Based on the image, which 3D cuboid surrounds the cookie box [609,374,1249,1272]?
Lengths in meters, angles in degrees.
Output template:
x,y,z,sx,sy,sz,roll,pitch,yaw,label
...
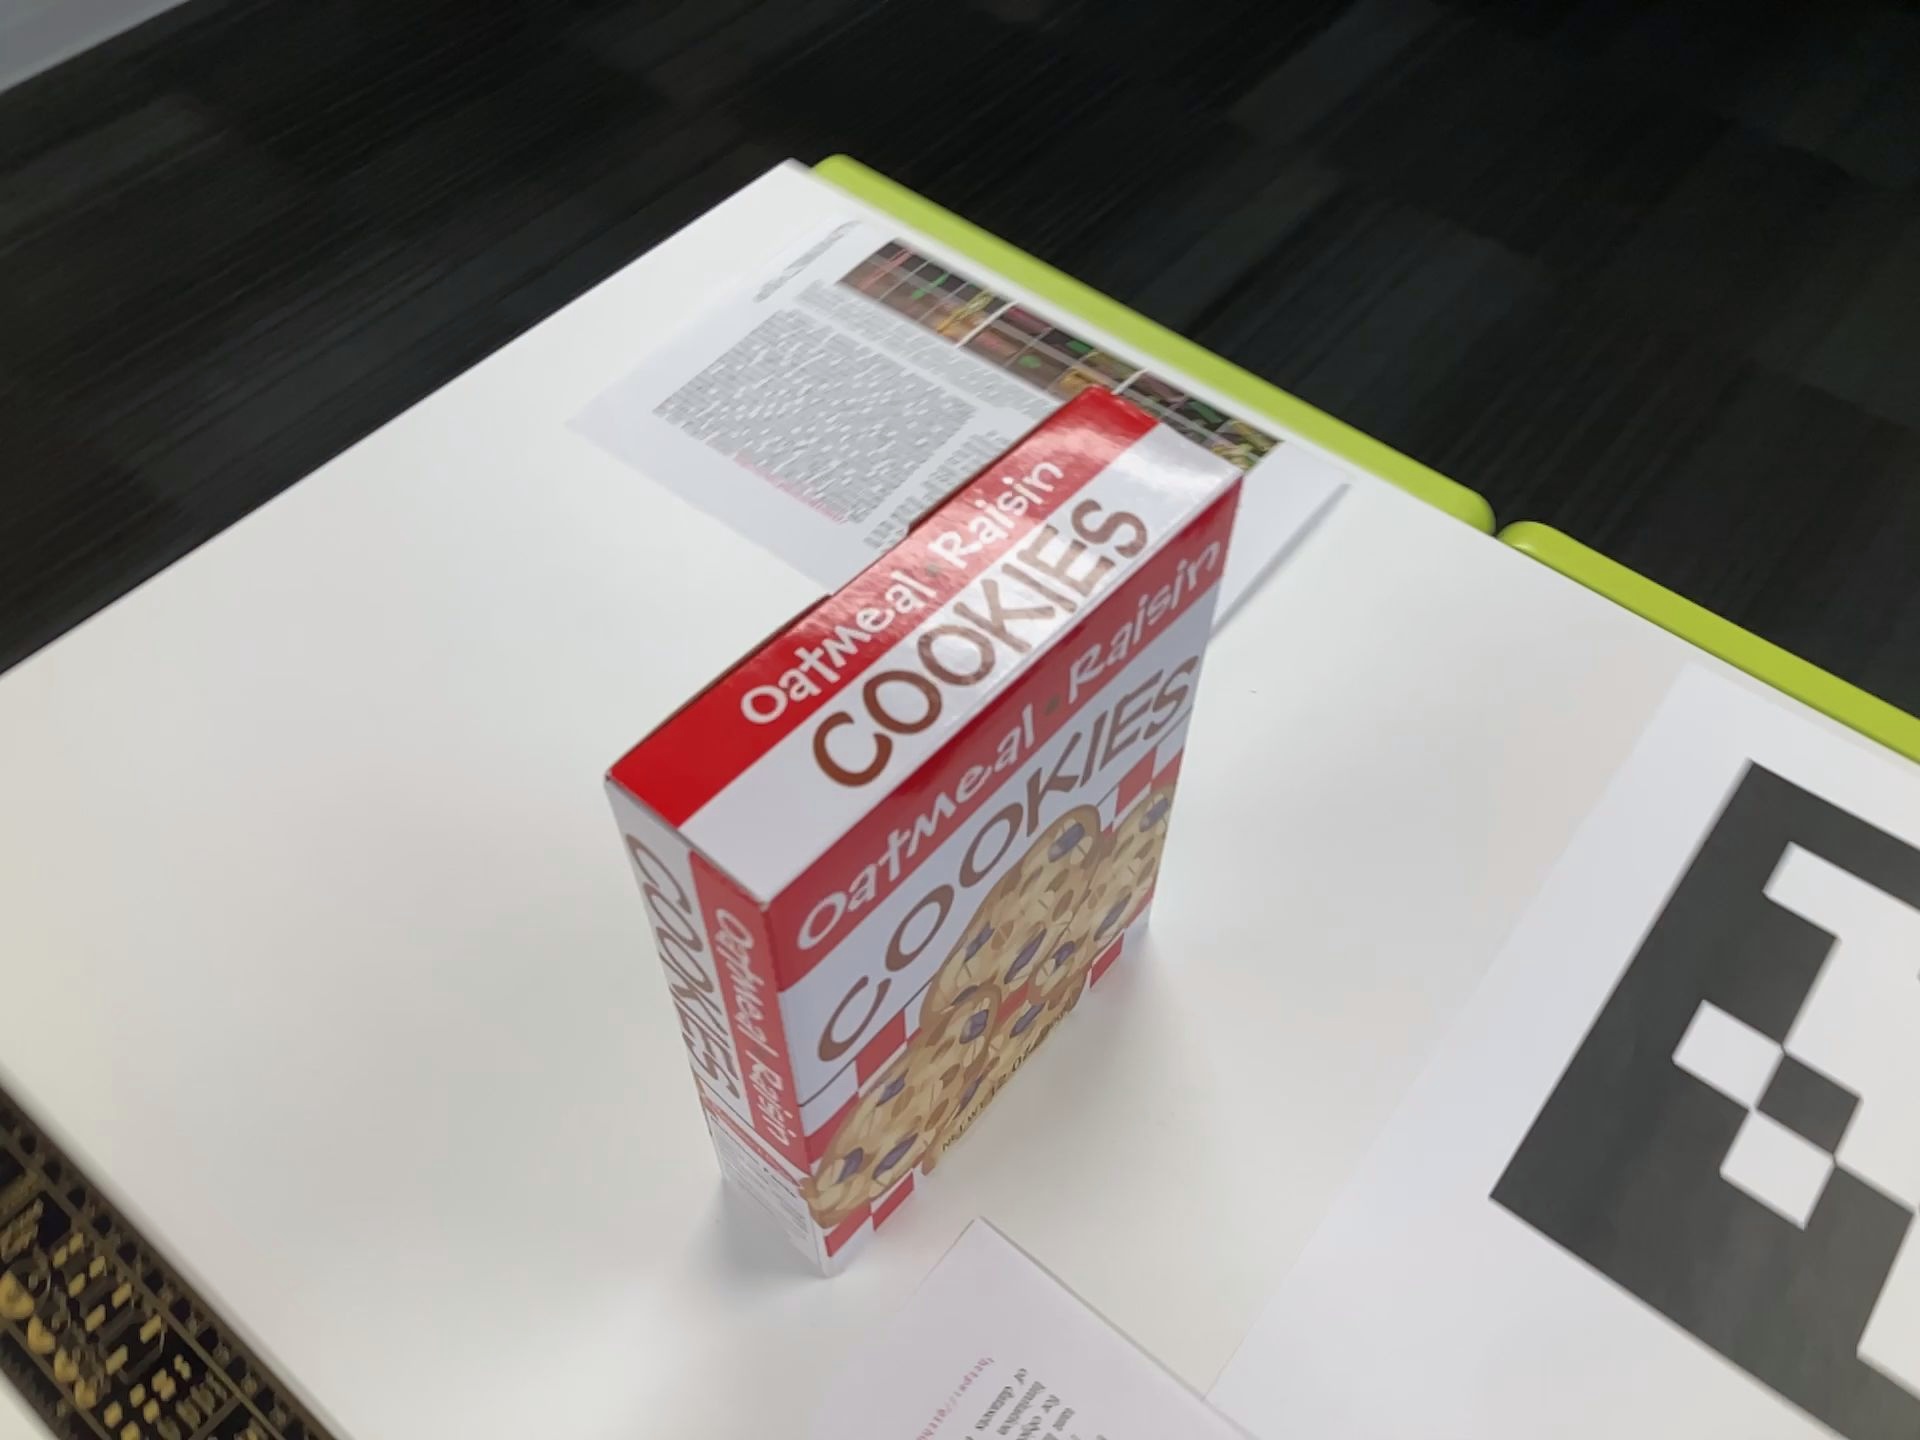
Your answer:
x,y,z,sx,sy,sz,roll,pitch,yaw,label
-0.003,0.029,0.329,0.040,0.167,0.123,35,60,23,cookie box
